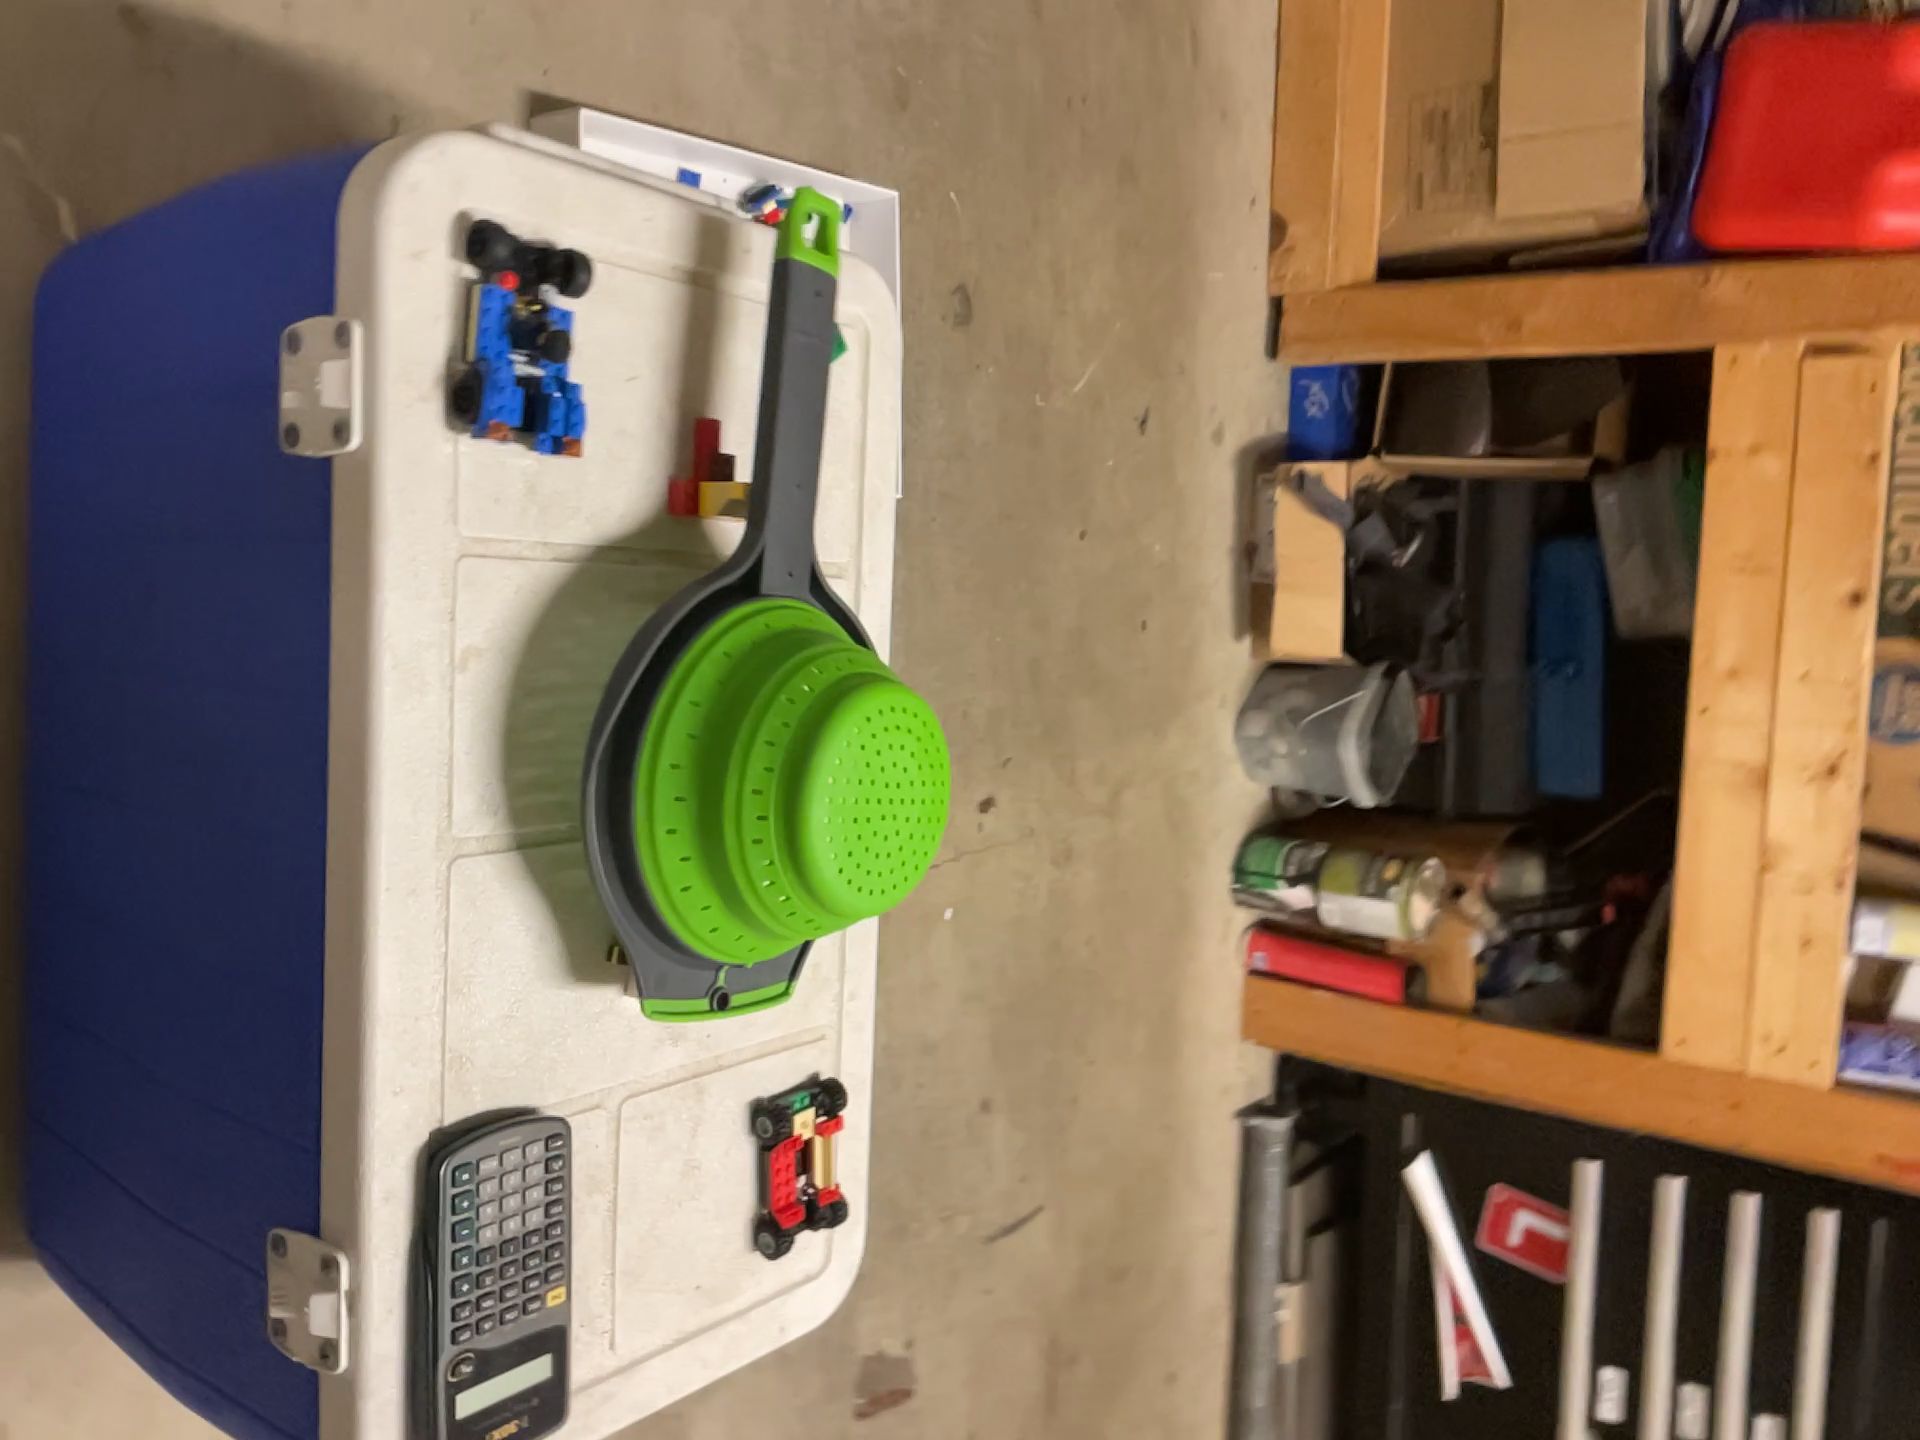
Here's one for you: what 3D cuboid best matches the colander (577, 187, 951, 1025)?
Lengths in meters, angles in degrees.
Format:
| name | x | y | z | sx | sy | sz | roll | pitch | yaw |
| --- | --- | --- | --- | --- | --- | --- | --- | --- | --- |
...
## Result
| name | x | y | z | sx | sy | sz | roll | pitch | yaw |
| --- | --- | --- | --- | --- | --- | --- | --- | --- | --- |
| colander | -0.062 | -0.050 | 0.740 | 0.204 | 0.094 | 0.397 | 5 | 91 | -55 |
